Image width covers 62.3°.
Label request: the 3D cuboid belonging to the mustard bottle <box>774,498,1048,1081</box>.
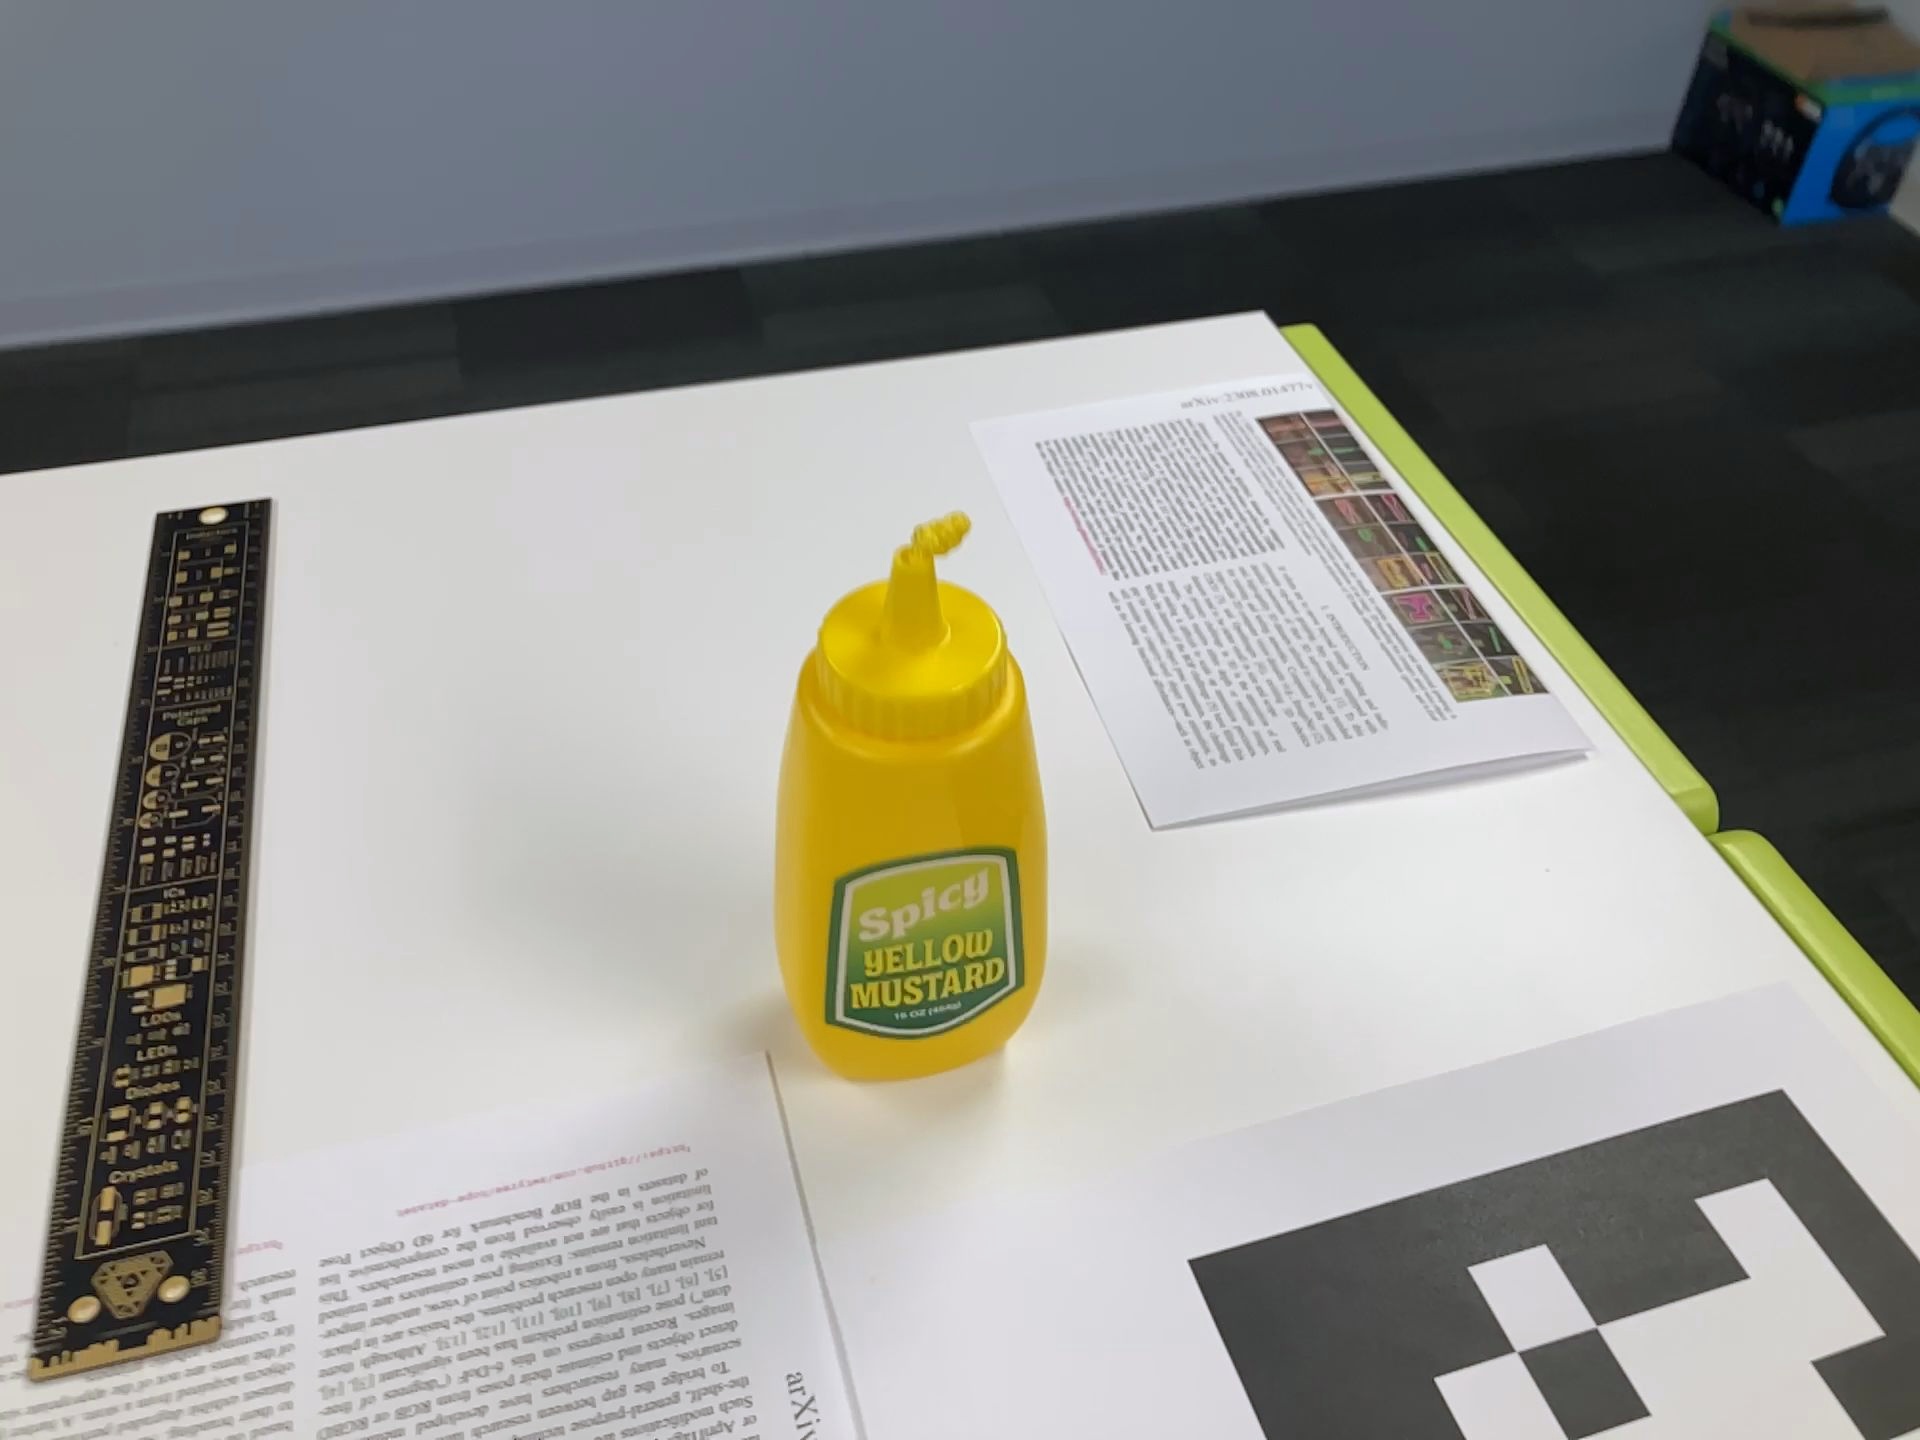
[{"bbox_3d":[-0.012,0.019,0.355,0.065,0.160,0.049,-8,45,-9],"label":"mustard bottle"}]
